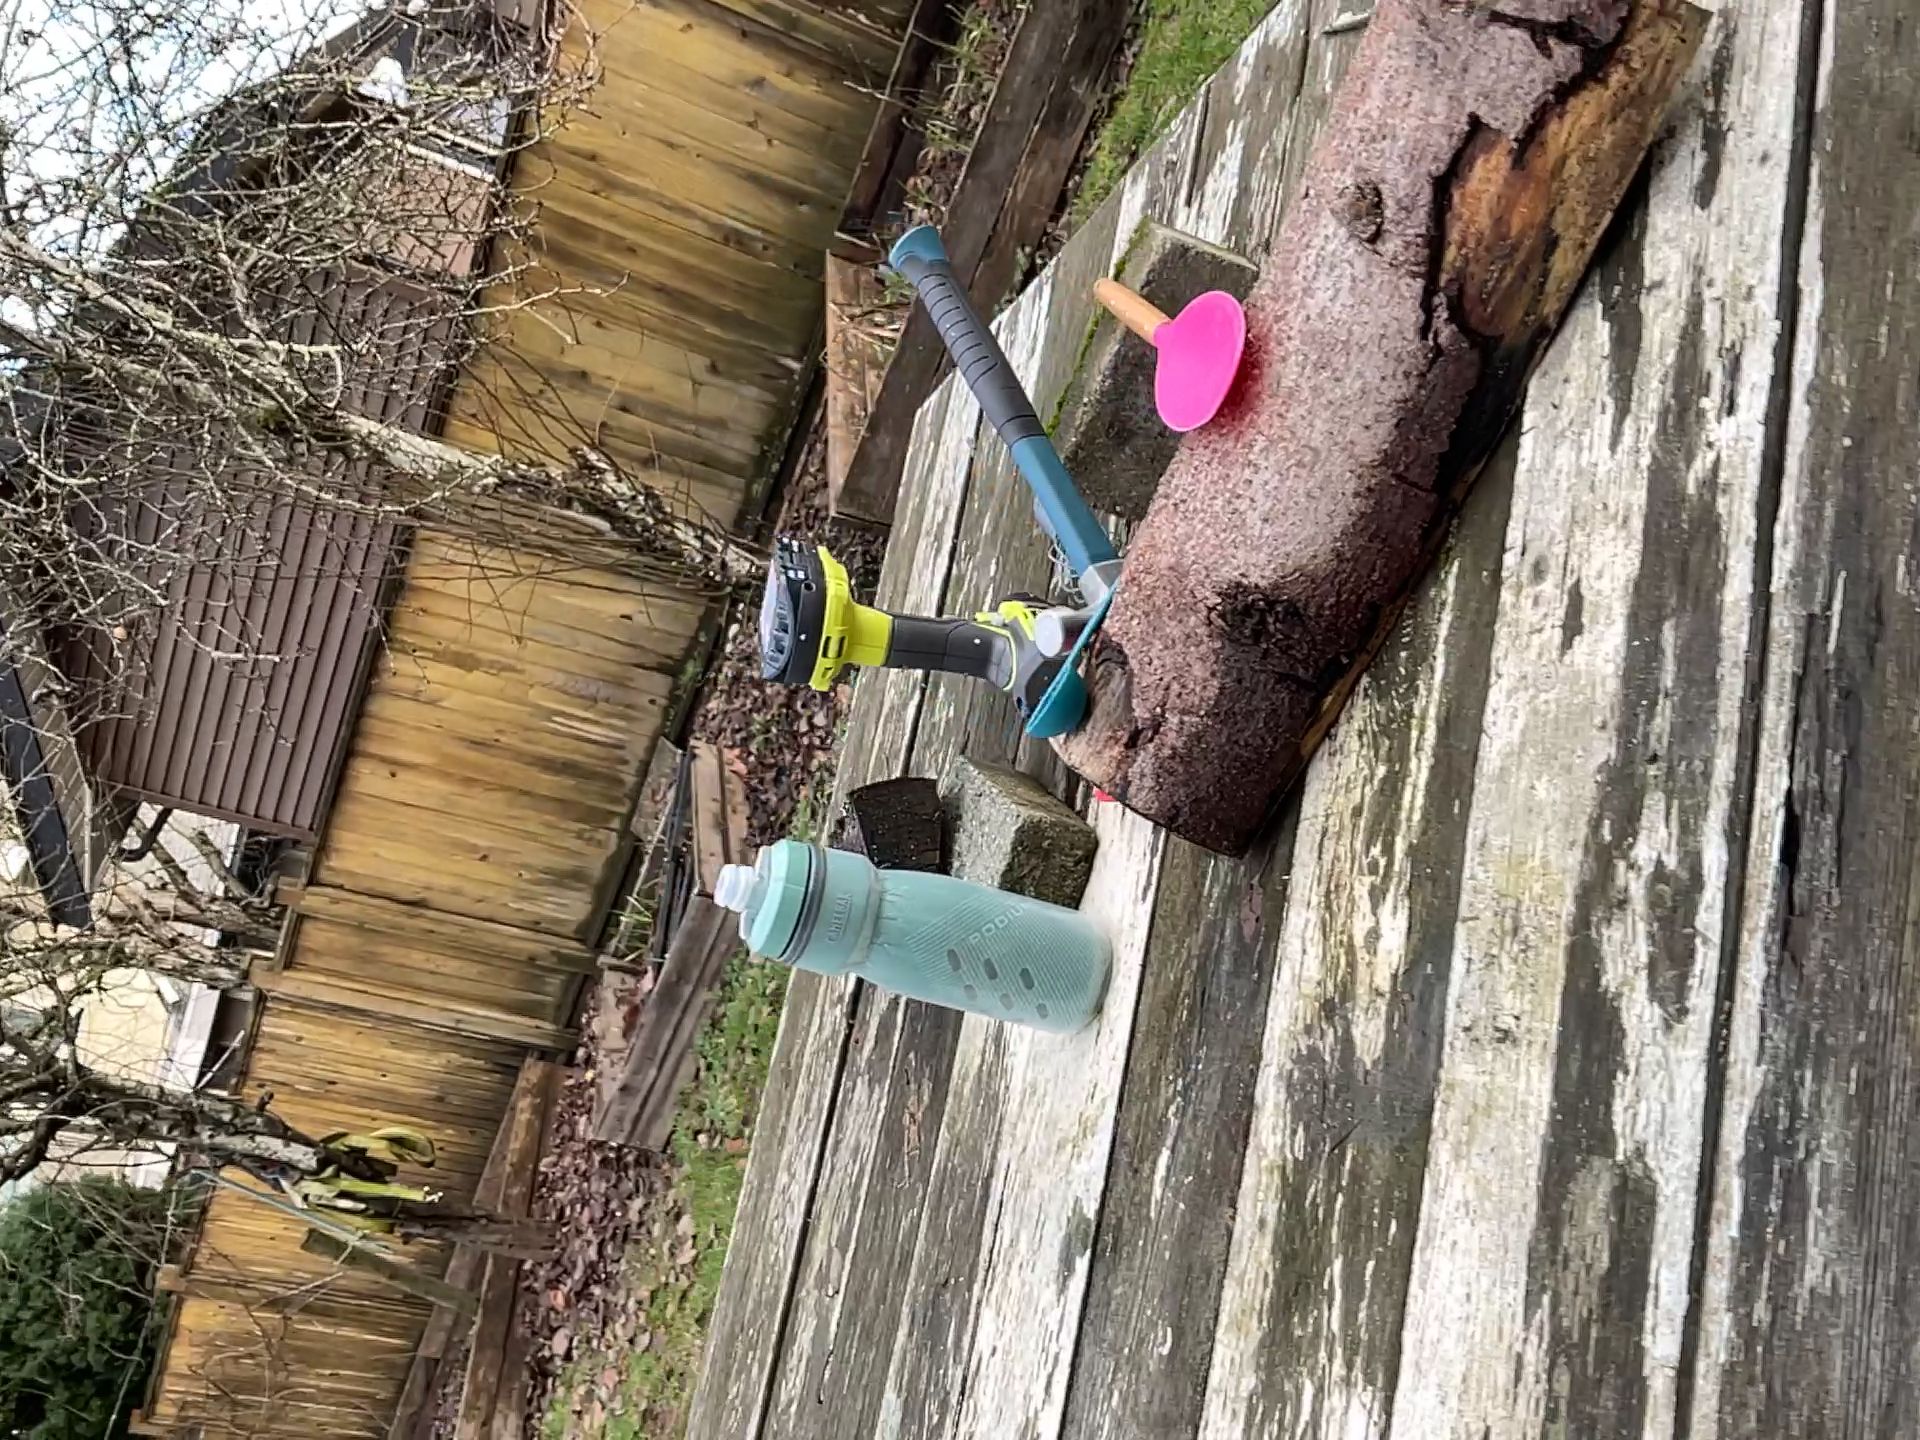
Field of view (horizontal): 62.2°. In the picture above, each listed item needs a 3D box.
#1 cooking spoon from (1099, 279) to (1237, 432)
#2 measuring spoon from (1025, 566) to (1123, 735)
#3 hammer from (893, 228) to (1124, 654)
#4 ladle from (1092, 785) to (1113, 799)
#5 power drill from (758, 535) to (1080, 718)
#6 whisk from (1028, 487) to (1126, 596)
[{"bbox_3d":[0.111,-0.220,0.897,0.319,0.017,0.068,-103,32,-66],"label":"cooking spoon"},{"bbox_3d":[0.072,-0.038,0.864,0.129,0.021,0.042,-58,5,-36],"label":"measuring spoon"},{"bbox_3d":[0.039,-0.191,1.038,0.331,0.128,0.033,63,142,20],"label":"hammer"},{"bbox_3d":[0.147,-0.098,0.949,0.069,0.031,0.315,-155,84,-76],"label":"ladle"},{"bbox_3d":[-0.026,-0.065,1.135,0.171,0.223,0.080,-111,32,-66],"label":"power drill"},{"bbox_3d":[0.076,-0.139,1.162,0.055,0.055,0.239,-60,16,15],"label":"whisk"}]
